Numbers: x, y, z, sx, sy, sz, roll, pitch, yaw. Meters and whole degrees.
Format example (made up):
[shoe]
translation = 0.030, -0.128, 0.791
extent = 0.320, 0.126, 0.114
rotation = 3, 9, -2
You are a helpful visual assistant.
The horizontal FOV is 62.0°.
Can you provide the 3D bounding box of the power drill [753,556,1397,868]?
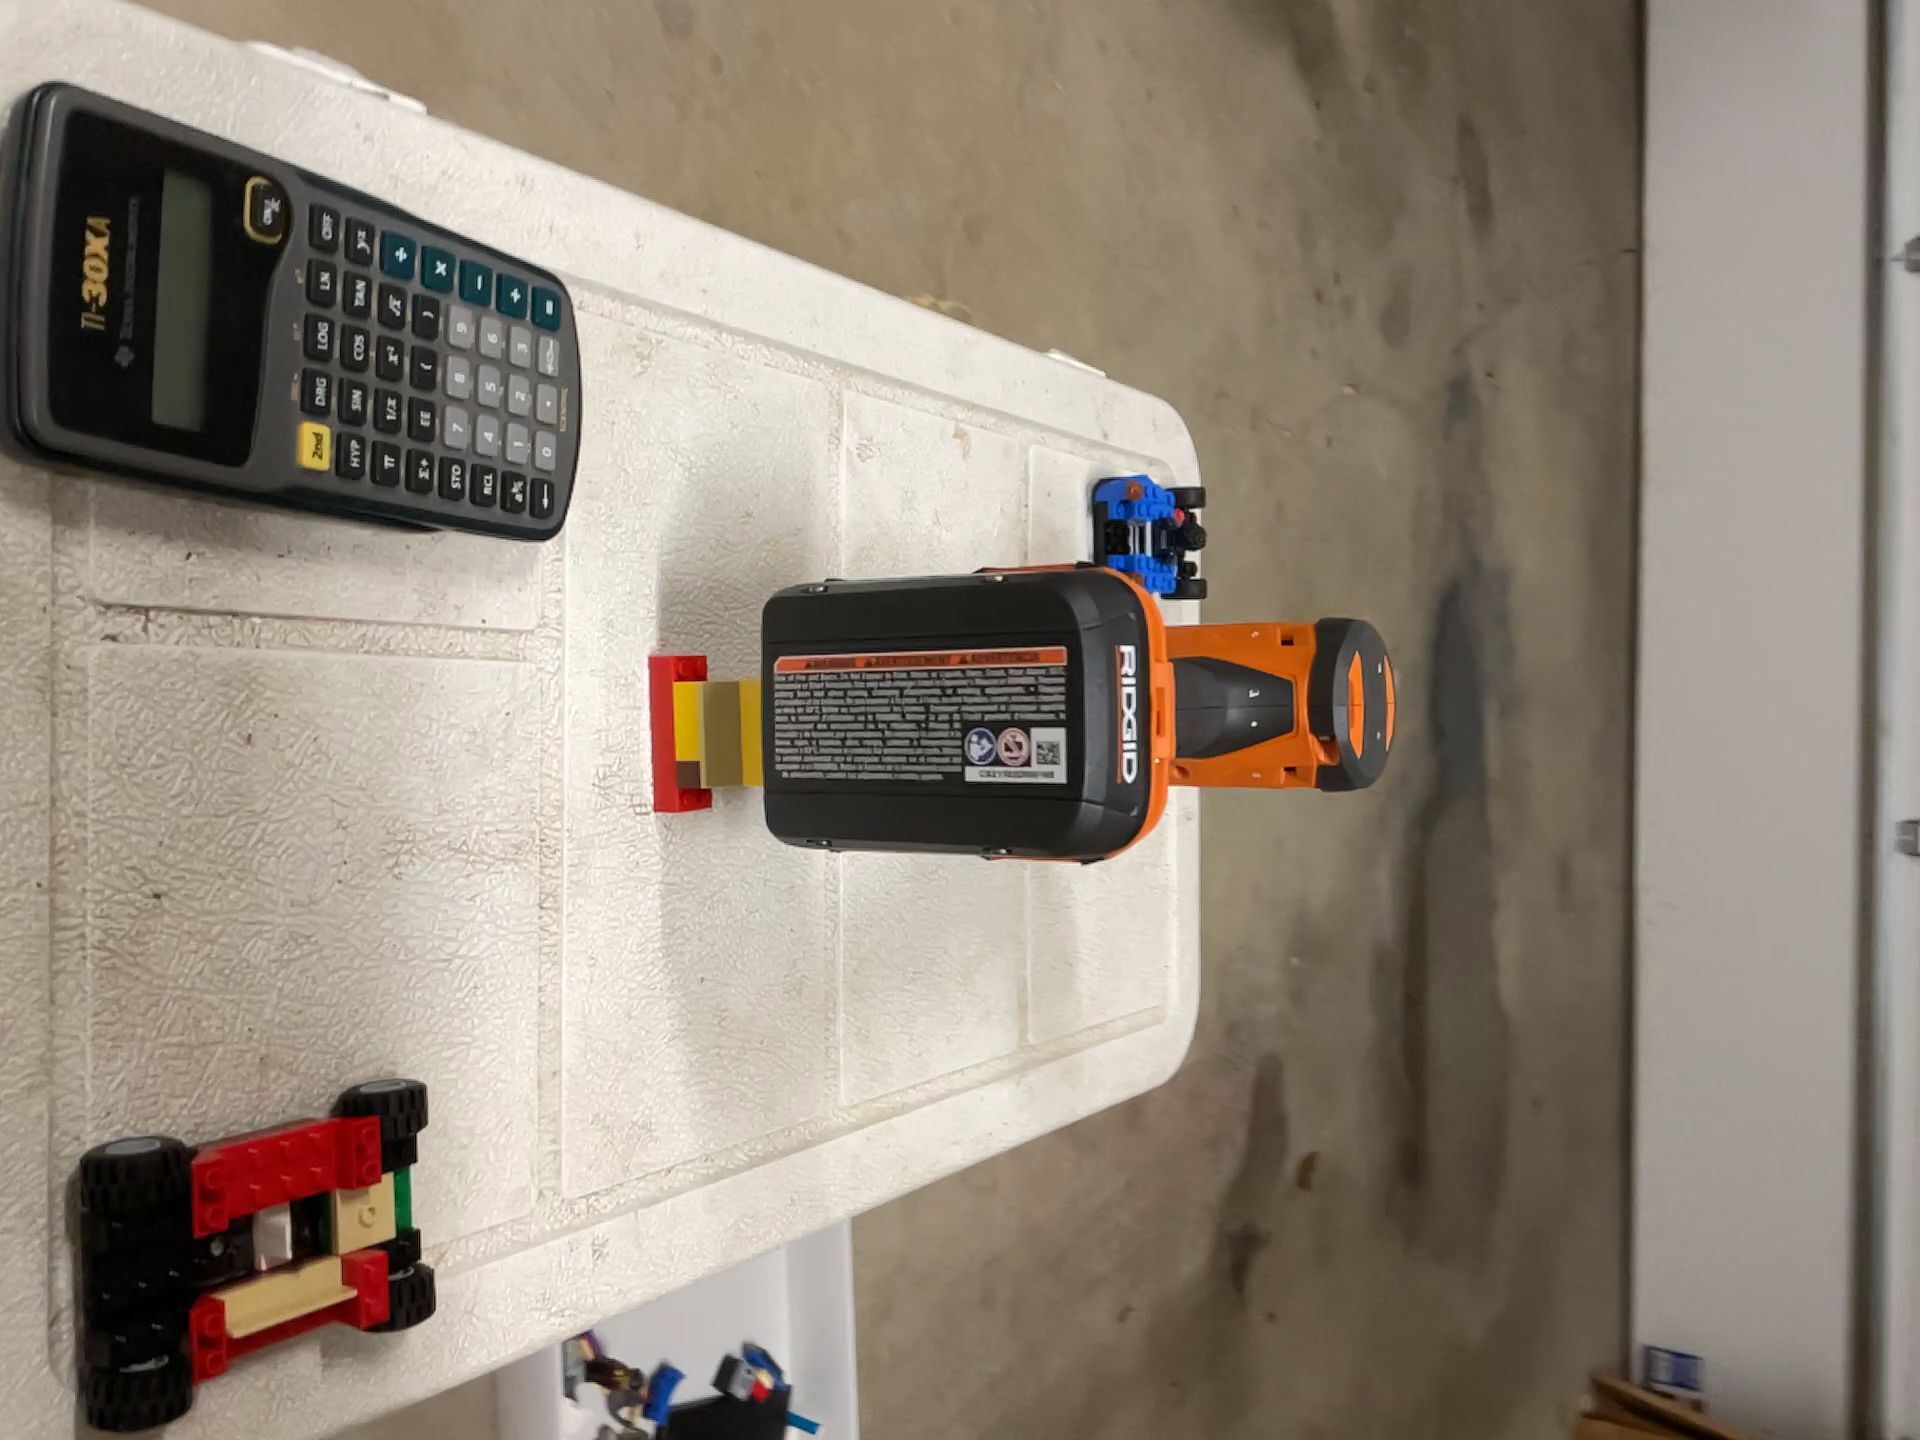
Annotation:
[power drill]
translation = 0.031, -0.003, 0.526
extent = 0.226, 0.164, 0.084
rotation = -2, 91, -57
